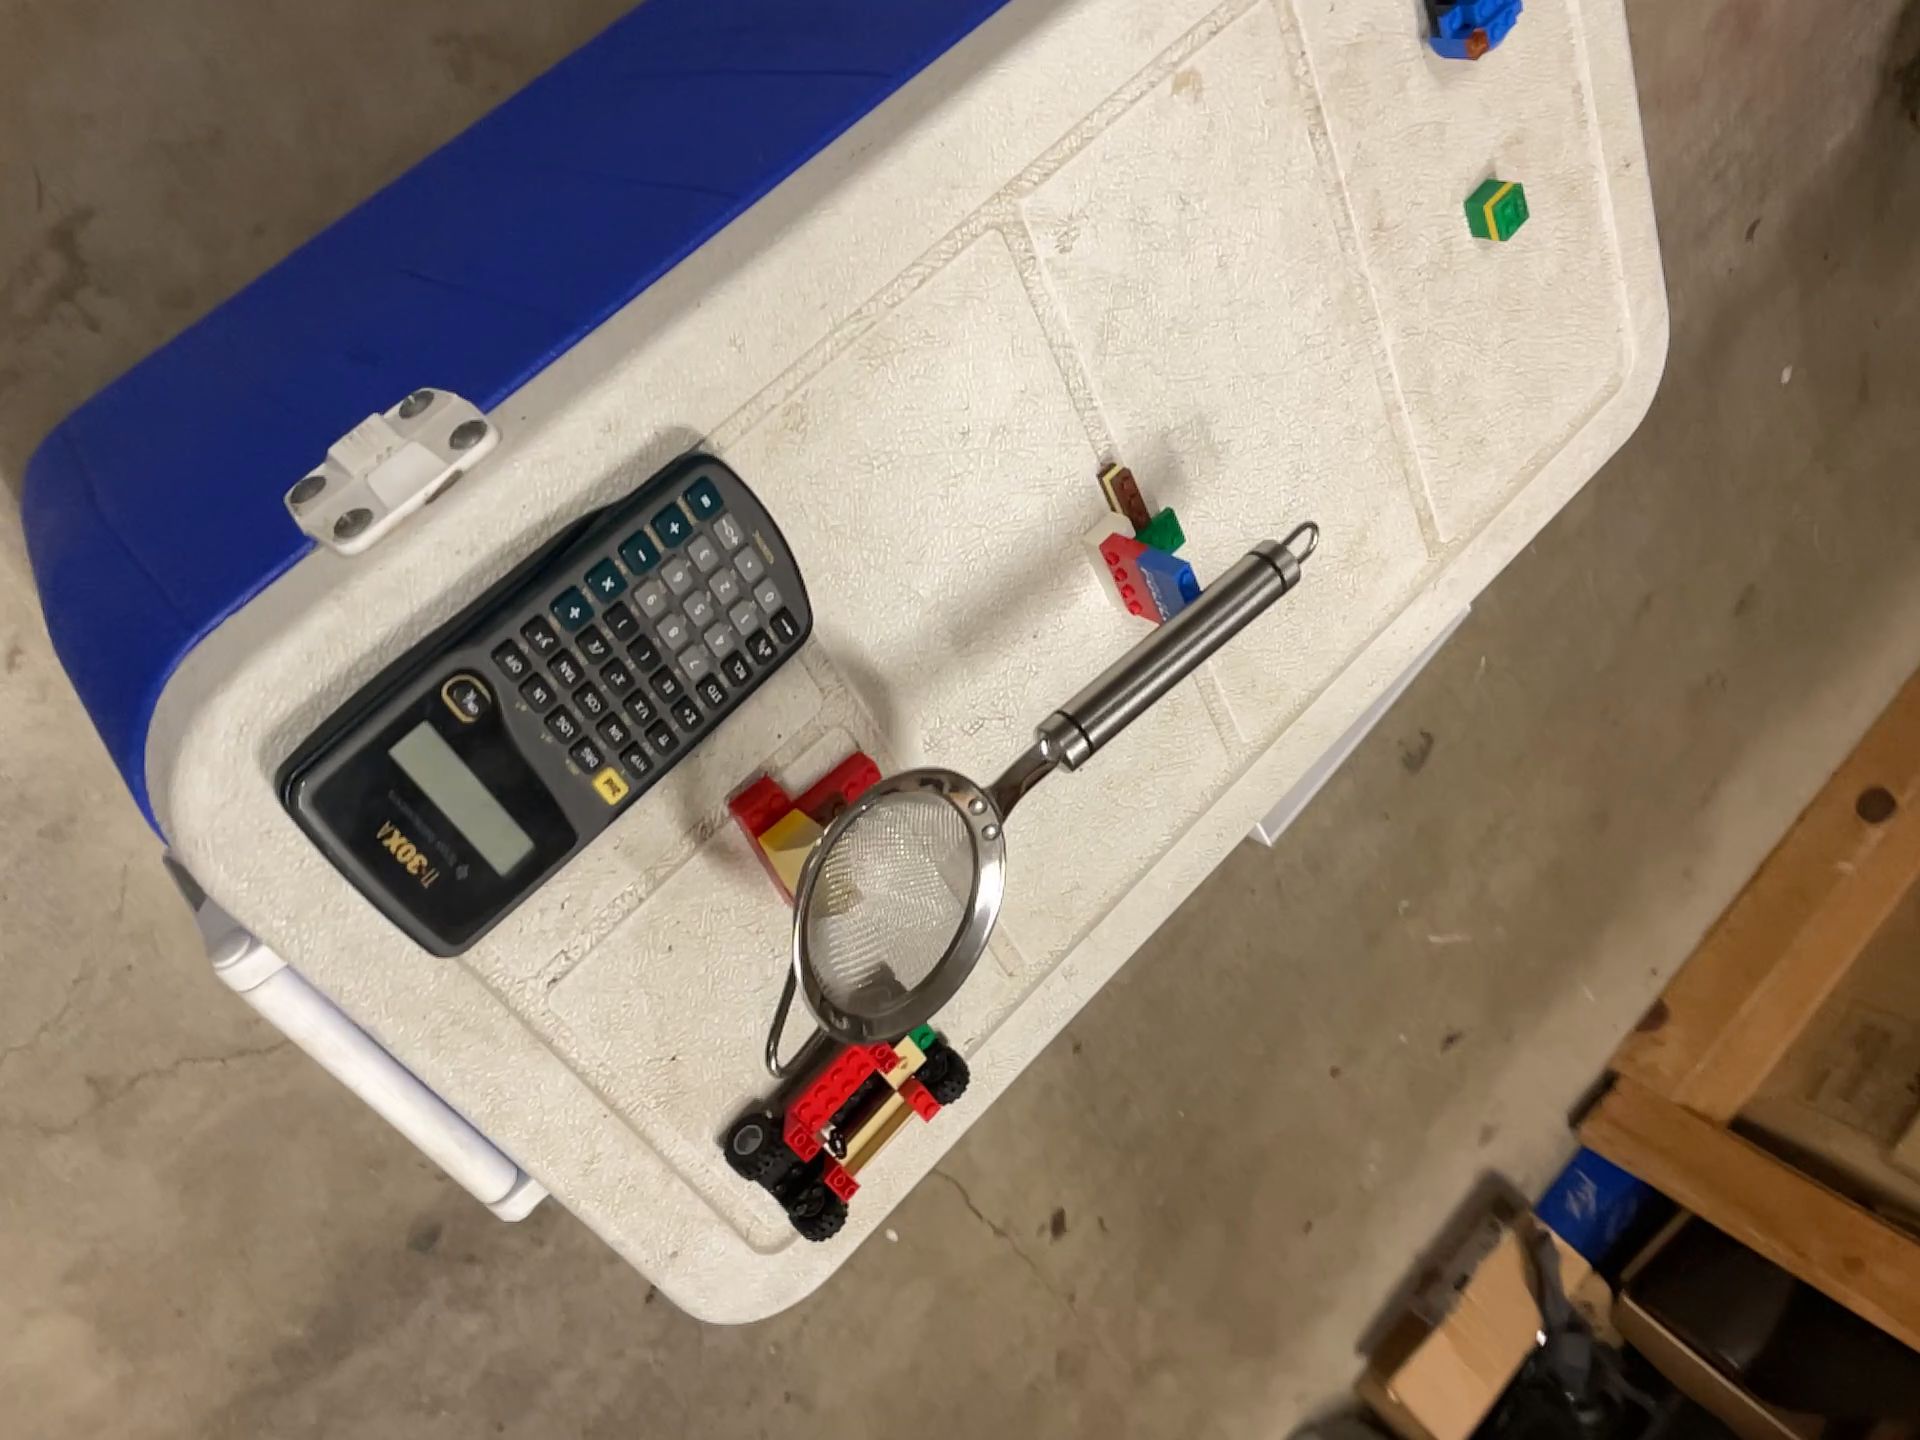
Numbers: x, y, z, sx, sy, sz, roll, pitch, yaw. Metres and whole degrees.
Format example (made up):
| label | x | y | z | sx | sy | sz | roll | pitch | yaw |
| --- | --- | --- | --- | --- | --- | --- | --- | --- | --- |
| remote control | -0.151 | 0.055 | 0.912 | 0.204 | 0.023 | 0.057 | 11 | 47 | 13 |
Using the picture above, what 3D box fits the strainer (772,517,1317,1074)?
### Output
| label | x | y | z | sx | sy | sz | roll | pitch | yaw |
| --- | --- | --- | --- | --- | --- | --- | --- | --- | --- |
| strainer | 0.028 | 0.012 | 0.511 | 0.259 | 0.050 | 0.086 | -40 | 132 | -19 |
